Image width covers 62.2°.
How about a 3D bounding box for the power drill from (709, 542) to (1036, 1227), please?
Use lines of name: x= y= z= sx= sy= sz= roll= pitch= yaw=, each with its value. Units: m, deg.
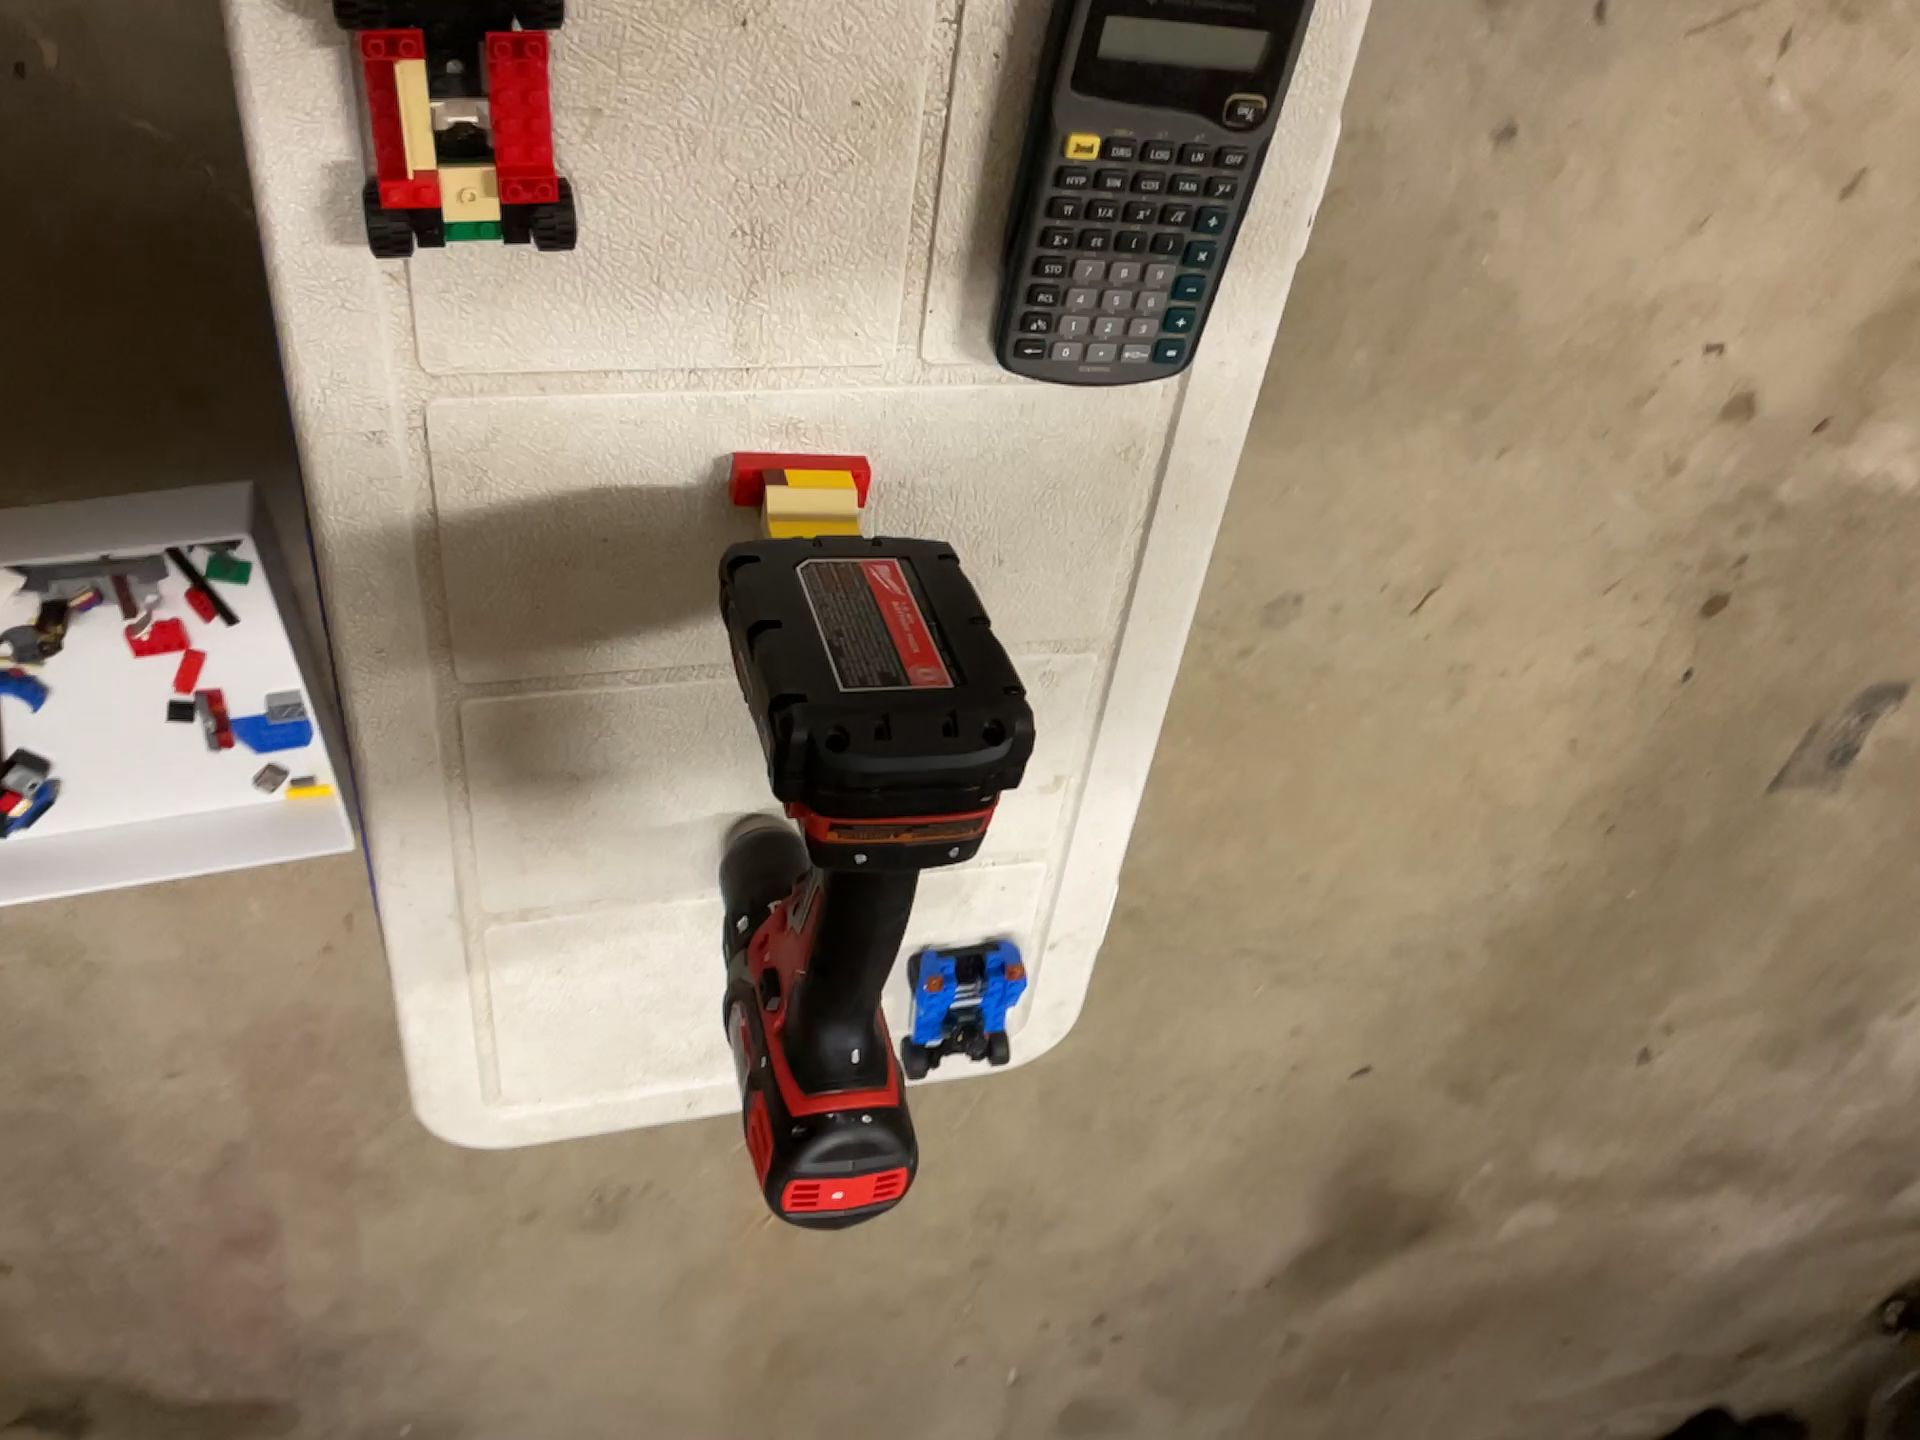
power drill: x=-0.052 y=0.046 z=0.585 sx=0.080 sy=0.188 sz=0.226 roll=-3 pitch=128 yaw=-19
